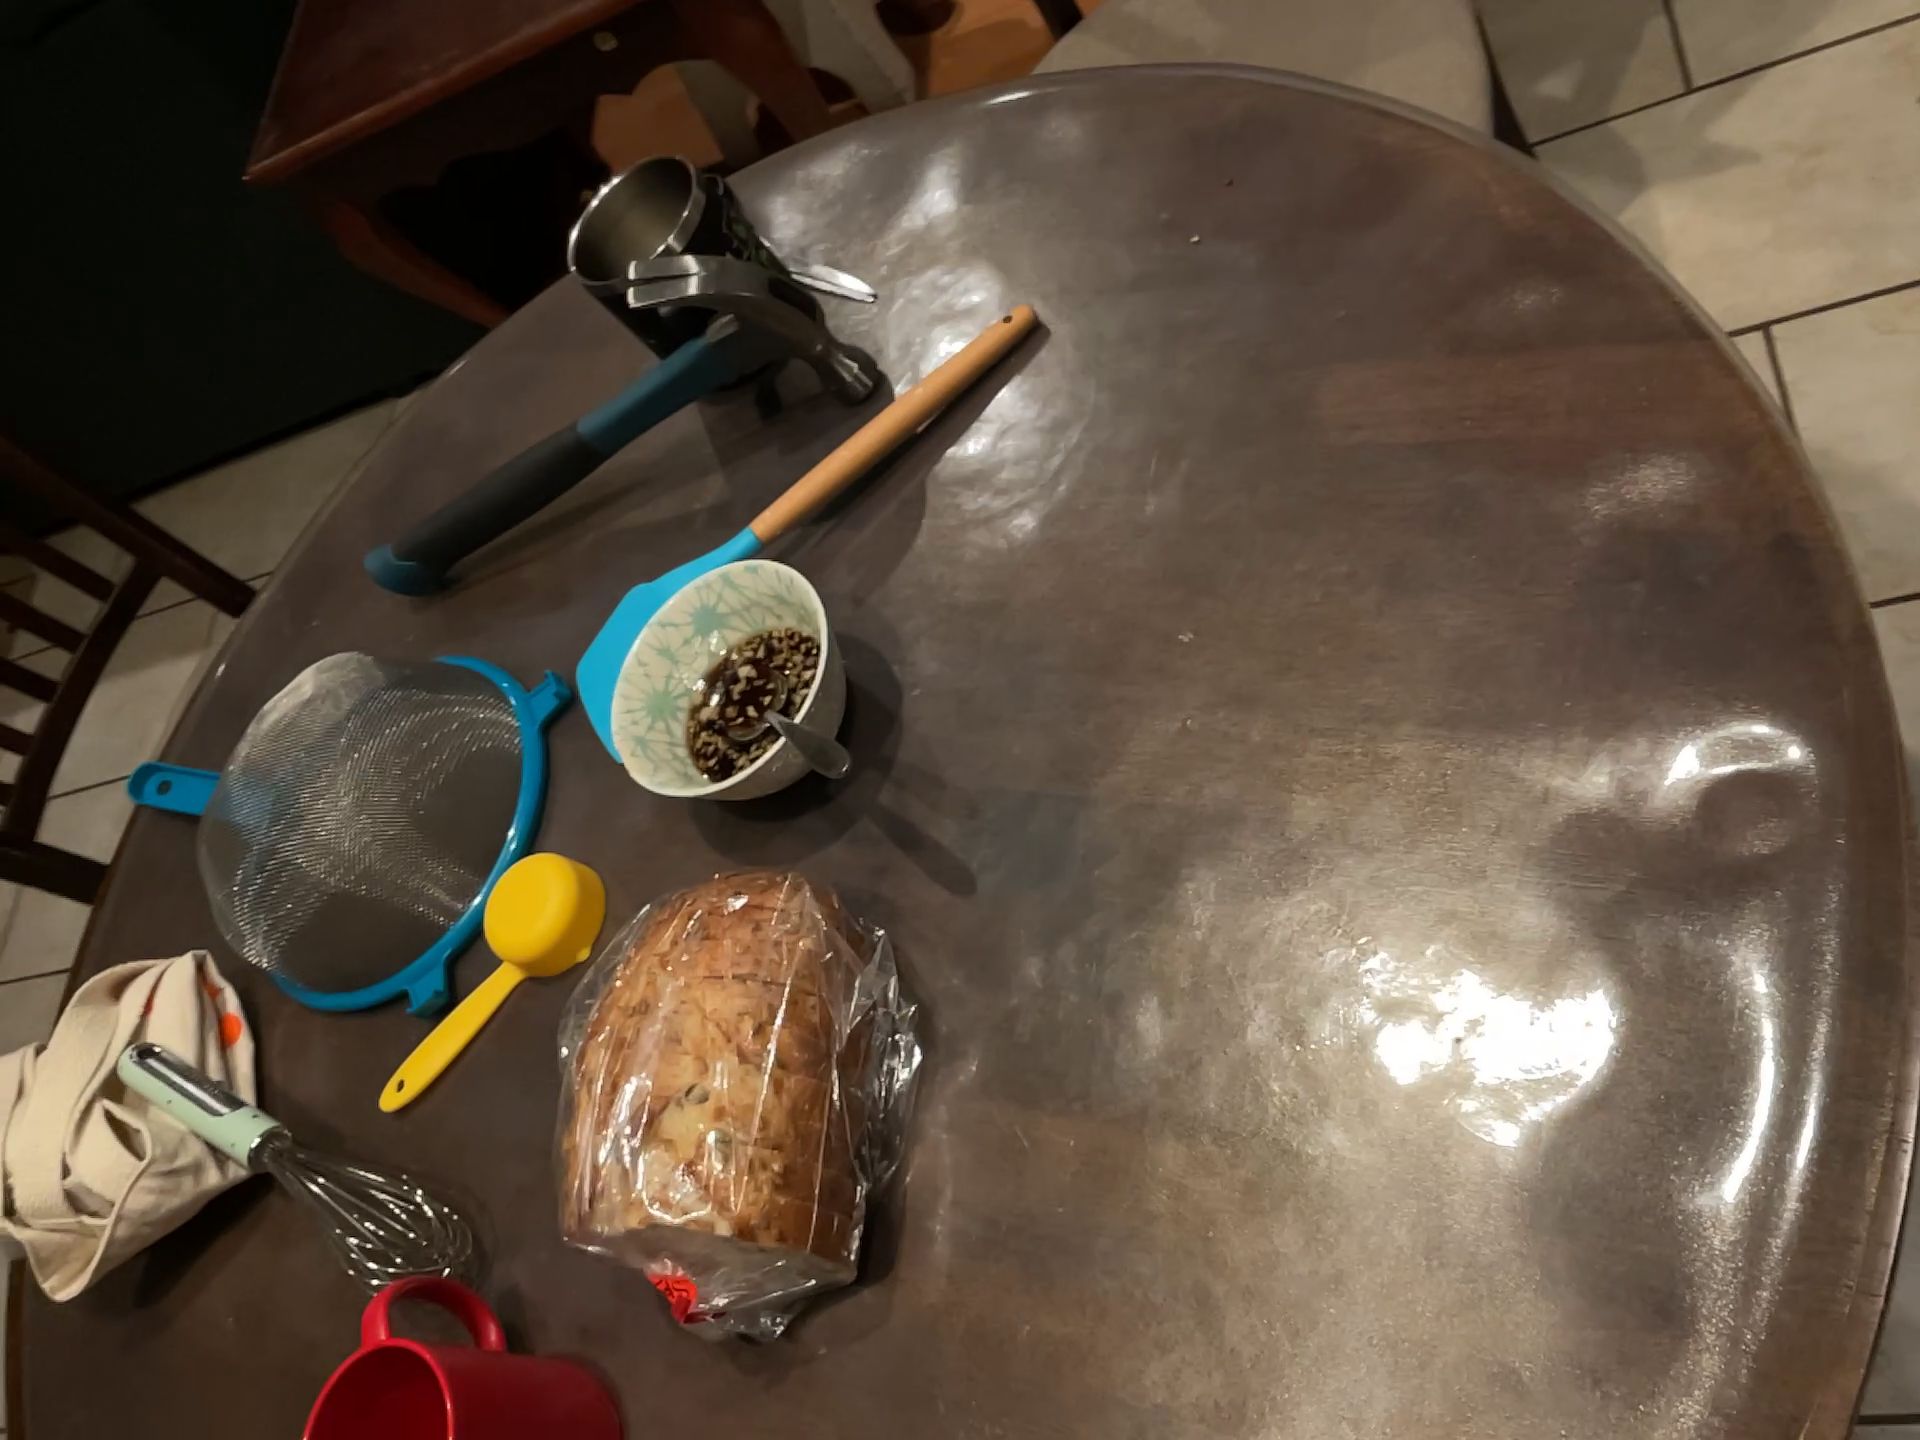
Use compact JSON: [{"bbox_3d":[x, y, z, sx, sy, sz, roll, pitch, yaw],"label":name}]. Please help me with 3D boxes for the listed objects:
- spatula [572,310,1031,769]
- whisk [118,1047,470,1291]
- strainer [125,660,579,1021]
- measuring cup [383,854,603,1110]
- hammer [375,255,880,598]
[{"bbox_3d":[-0.085,-0.104,0.841,0.317,0.044,0.082,-39,50,2],"label":"spatula"},{"bbox_3d":[-0.332,0.212,0.780,0.246,0.058,0.059,18,105,28],"label":"whisk"},{"bbox_3d":[-0.387,0.039,0.900,0.340,0.095,0.211,6,67,29],"label":"strainer"},{"bbox_3d":[-0.242,0.131,0.799,0.156,0.029,0.062,-48,50,-2],"label":"measuring cup"},{"bbox_3d":[-0.210,-0.152,0.902,0.331,0.128,0.033,-27,50,28],"label":"hammer"}]
